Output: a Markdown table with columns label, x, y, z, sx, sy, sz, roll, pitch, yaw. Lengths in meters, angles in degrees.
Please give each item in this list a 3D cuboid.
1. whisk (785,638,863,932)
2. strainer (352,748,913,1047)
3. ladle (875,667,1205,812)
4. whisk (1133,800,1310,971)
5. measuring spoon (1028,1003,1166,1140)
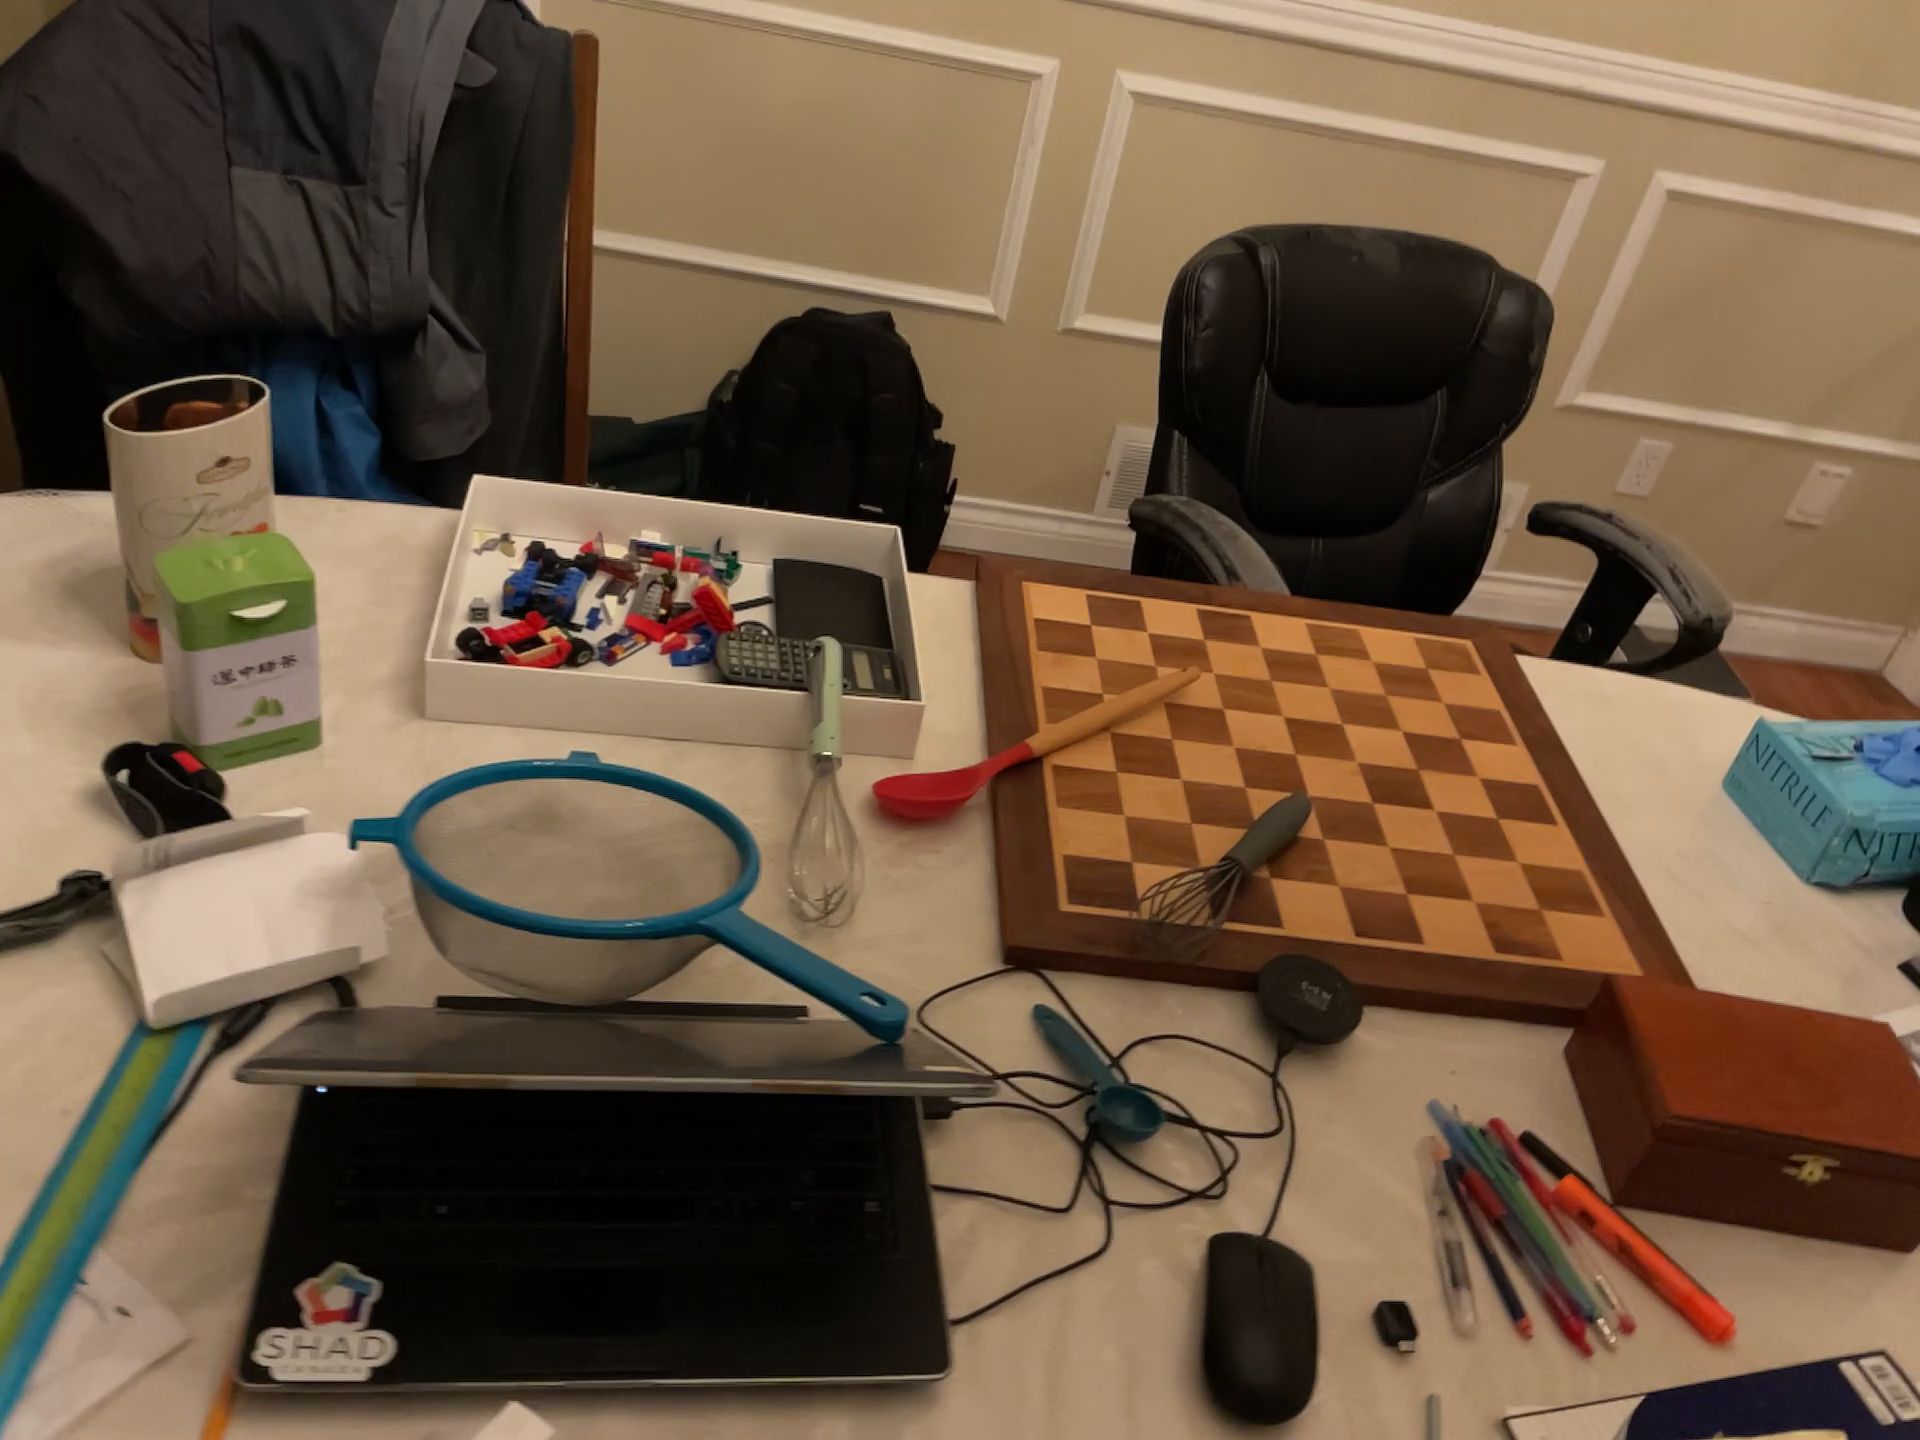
| label | x | y | z | sx | sy | sz | roll | pitch | yaw |
| --- | --- | --- | --- | --- | --- | --- | --- | --- | --- |
| whisk | -0.095 | 0.038 | 1.094 | 0.059 | 0.058 | 0.247 | 28 | 41 | -33 |
| strainer | -0.176 | 0.132 | 0.925 | 0.341 | 0.095 | 0.211 | 25 | 24 | 25 |
| ladle | 0.071 | 0.011 | 1.205 | 0.315 | 0.031 | 0.069 | -22 | 26 | -32 |
| whisk | 0.189 | 0.107 | 1.103 | 0.055 | 0.055 | 0.239 | 42 | 39 | 15 |
| measuring spoon | 0.077 | 0.215 | 0.968 | 0.042 | 0.021 | 0.129 | -2 | 26 | -32 |
